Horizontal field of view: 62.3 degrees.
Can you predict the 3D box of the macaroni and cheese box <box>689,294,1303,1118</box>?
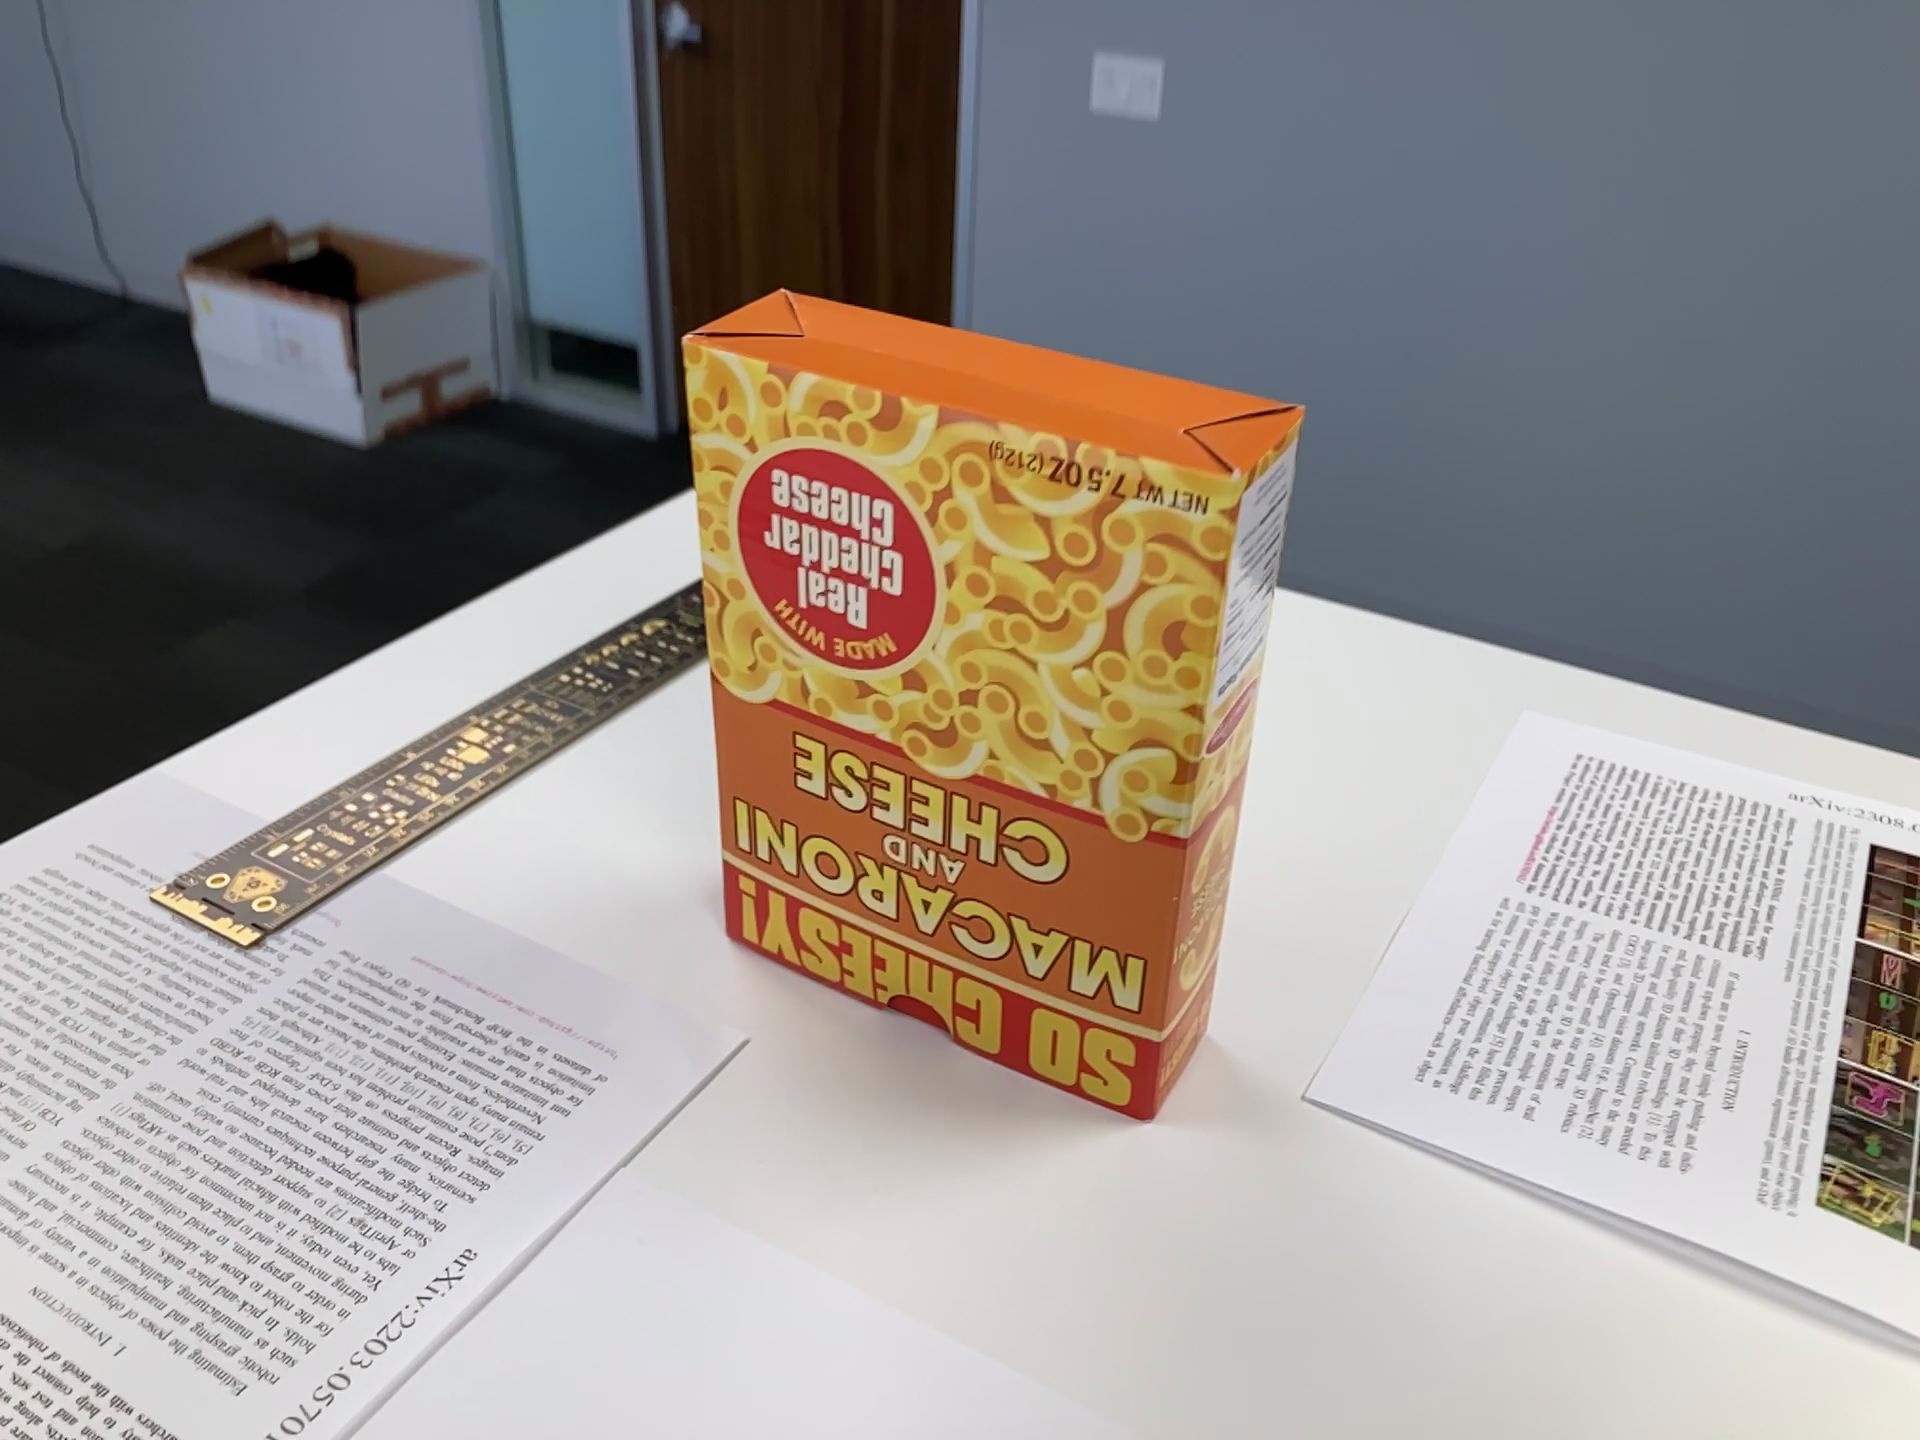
[{"bbox_3d":[0.001,0.000,0.364,0.124,0.166,0.040,19,37,23],"label":"macaroni and cheese box"}]
